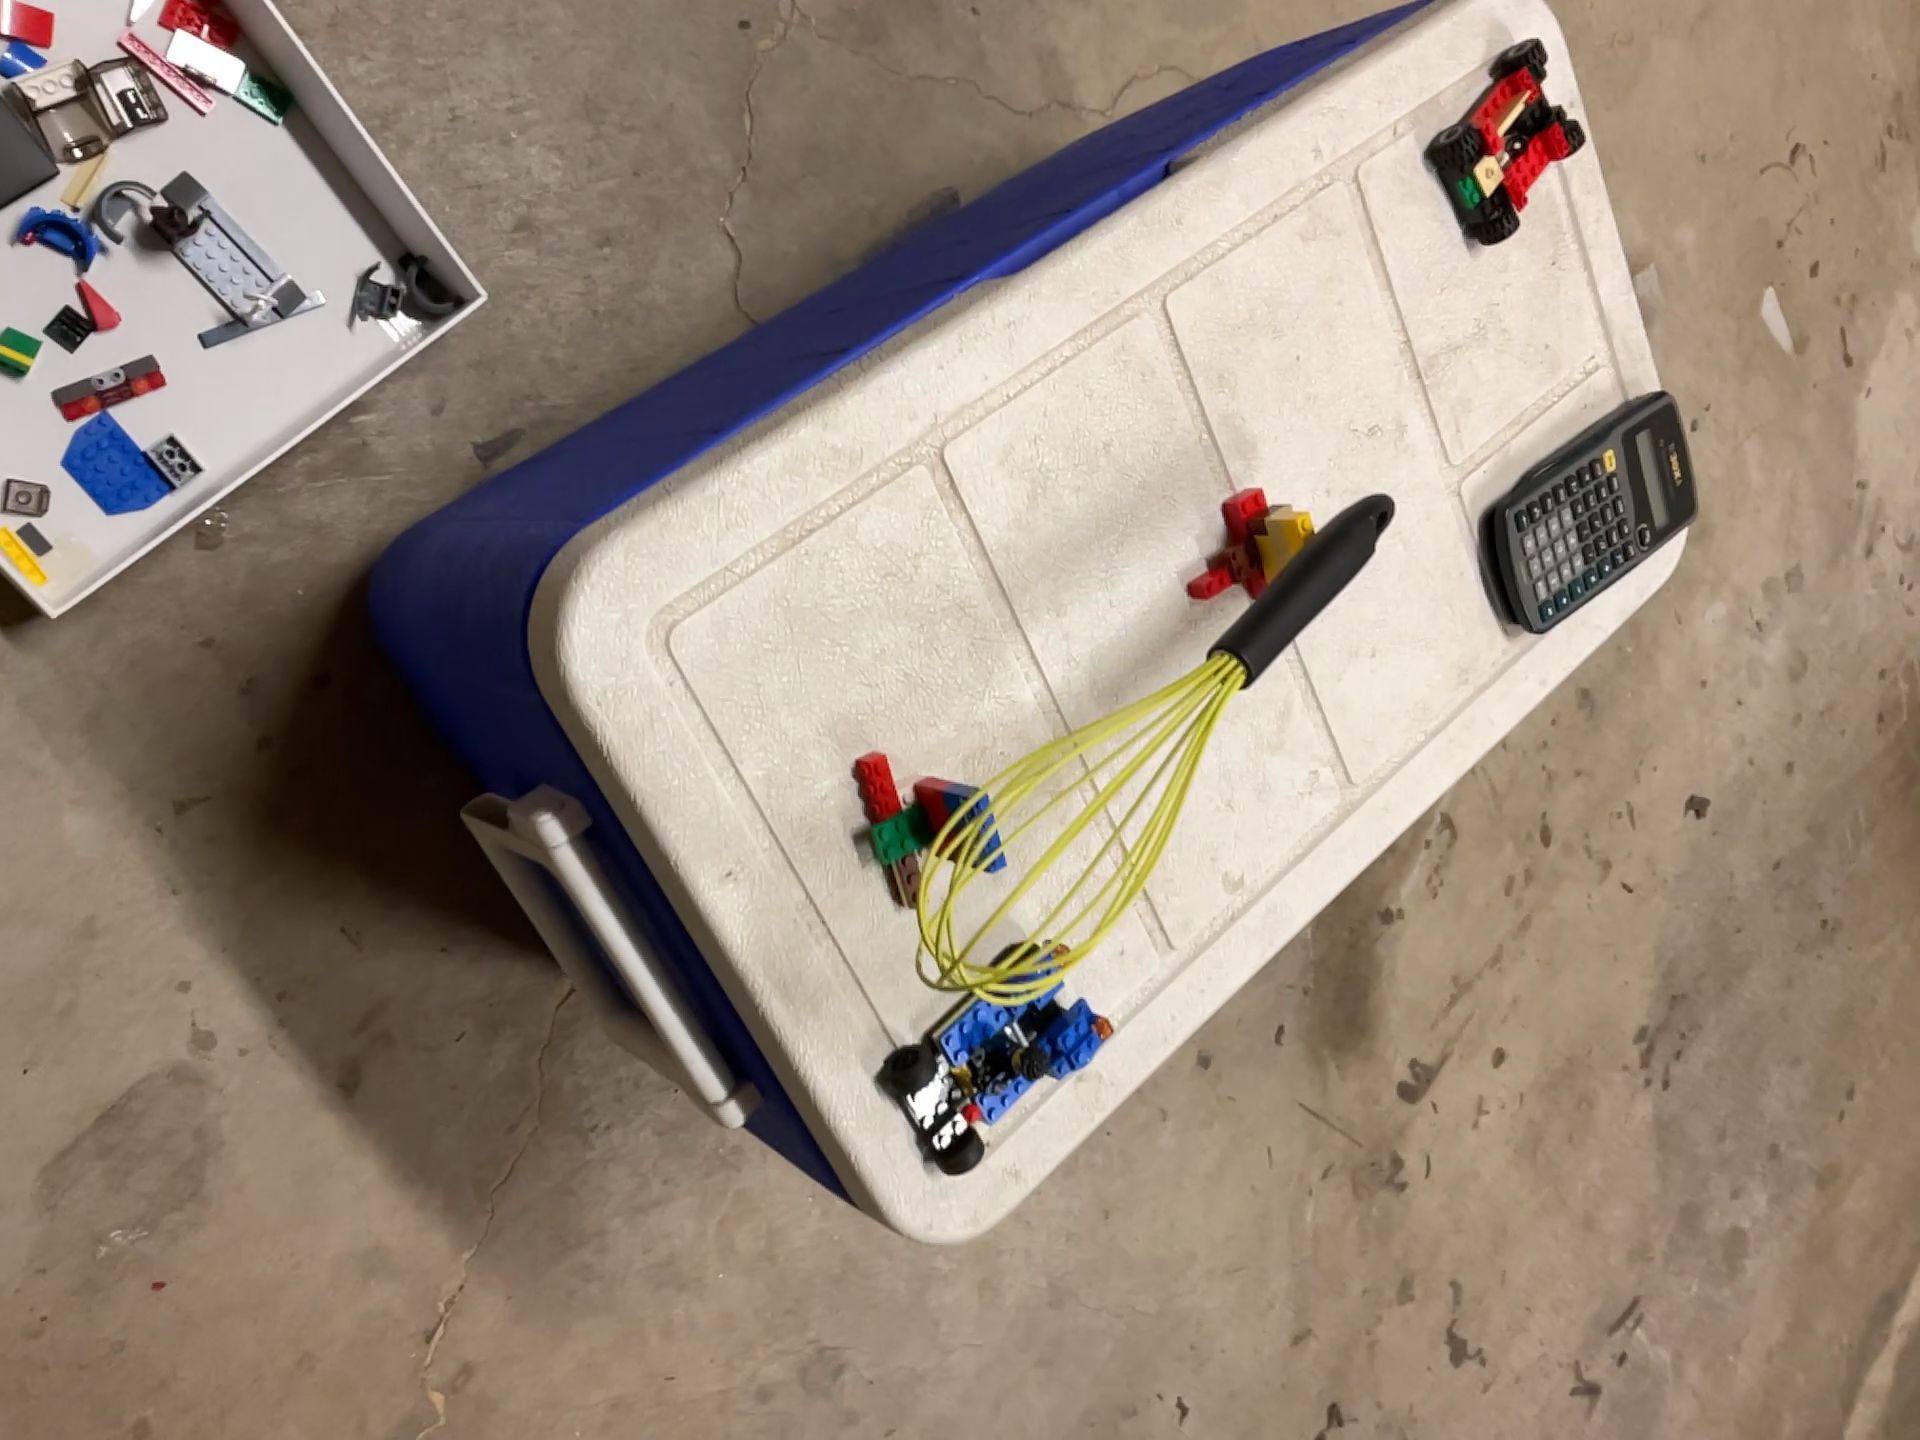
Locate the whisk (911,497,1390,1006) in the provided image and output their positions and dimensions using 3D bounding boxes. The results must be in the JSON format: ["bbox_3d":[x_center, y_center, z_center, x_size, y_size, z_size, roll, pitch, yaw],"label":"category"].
[{"bbox_3d":[0.085,-0.003,0.613,0.312,0.067,0.079,-44,164,-31],"label":"whisk"}]
